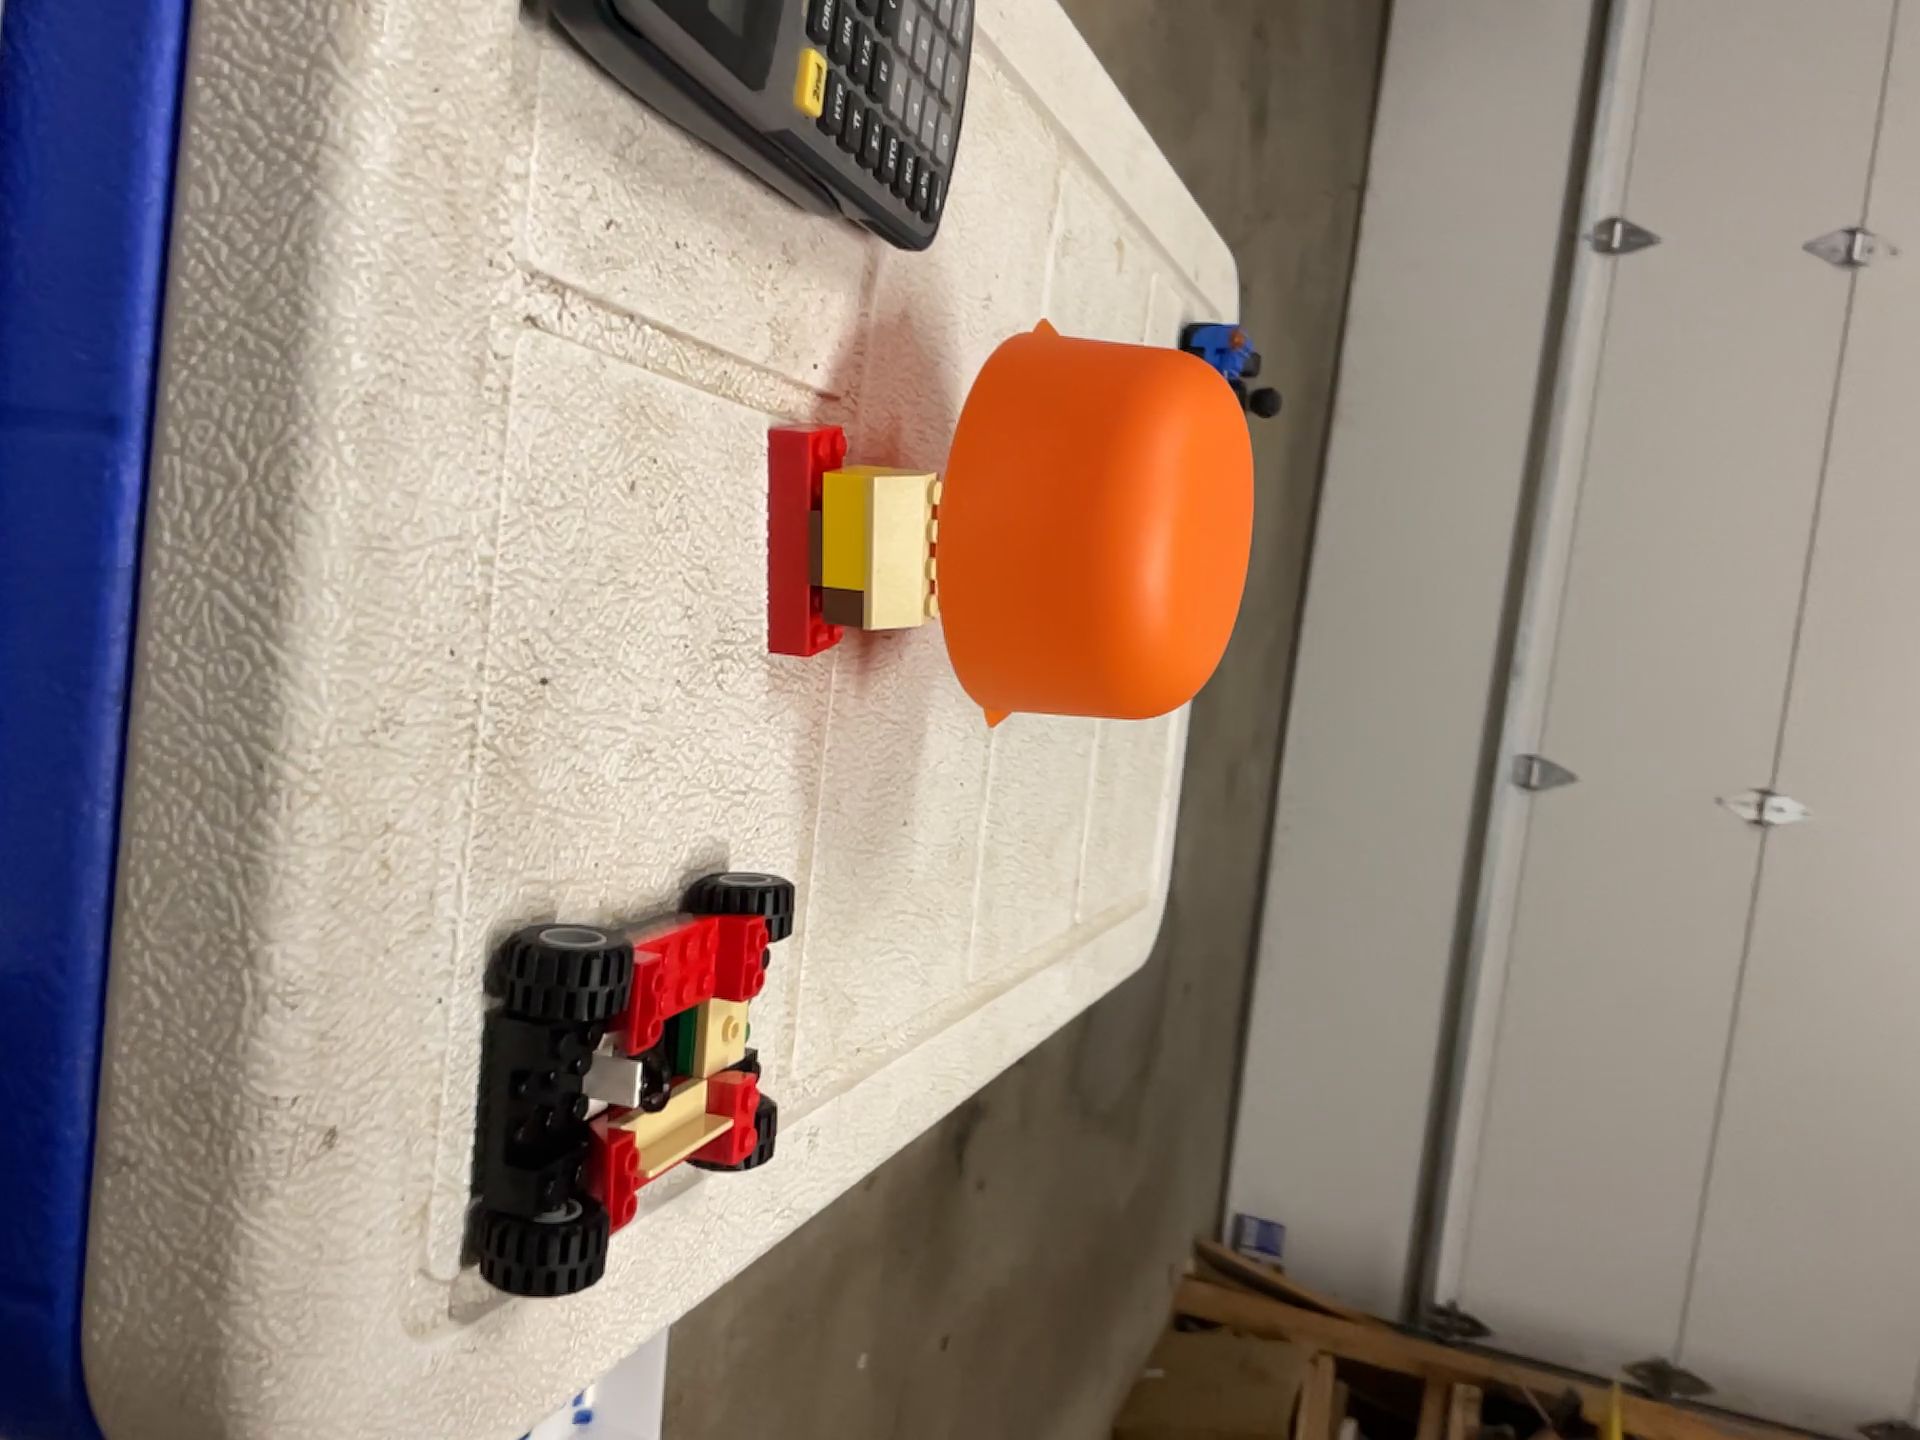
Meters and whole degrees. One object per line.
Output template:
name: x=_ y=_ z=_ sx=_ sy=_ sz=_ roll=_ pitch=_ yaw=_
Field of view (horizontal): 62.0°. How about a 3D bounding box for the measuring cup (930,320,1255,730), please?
measuring cup: x=0.052 y=-0.041 z=0.400 sx=0.173 sy=0.052 sz=0.095 roll=3 pitch=95 yaw=-65
